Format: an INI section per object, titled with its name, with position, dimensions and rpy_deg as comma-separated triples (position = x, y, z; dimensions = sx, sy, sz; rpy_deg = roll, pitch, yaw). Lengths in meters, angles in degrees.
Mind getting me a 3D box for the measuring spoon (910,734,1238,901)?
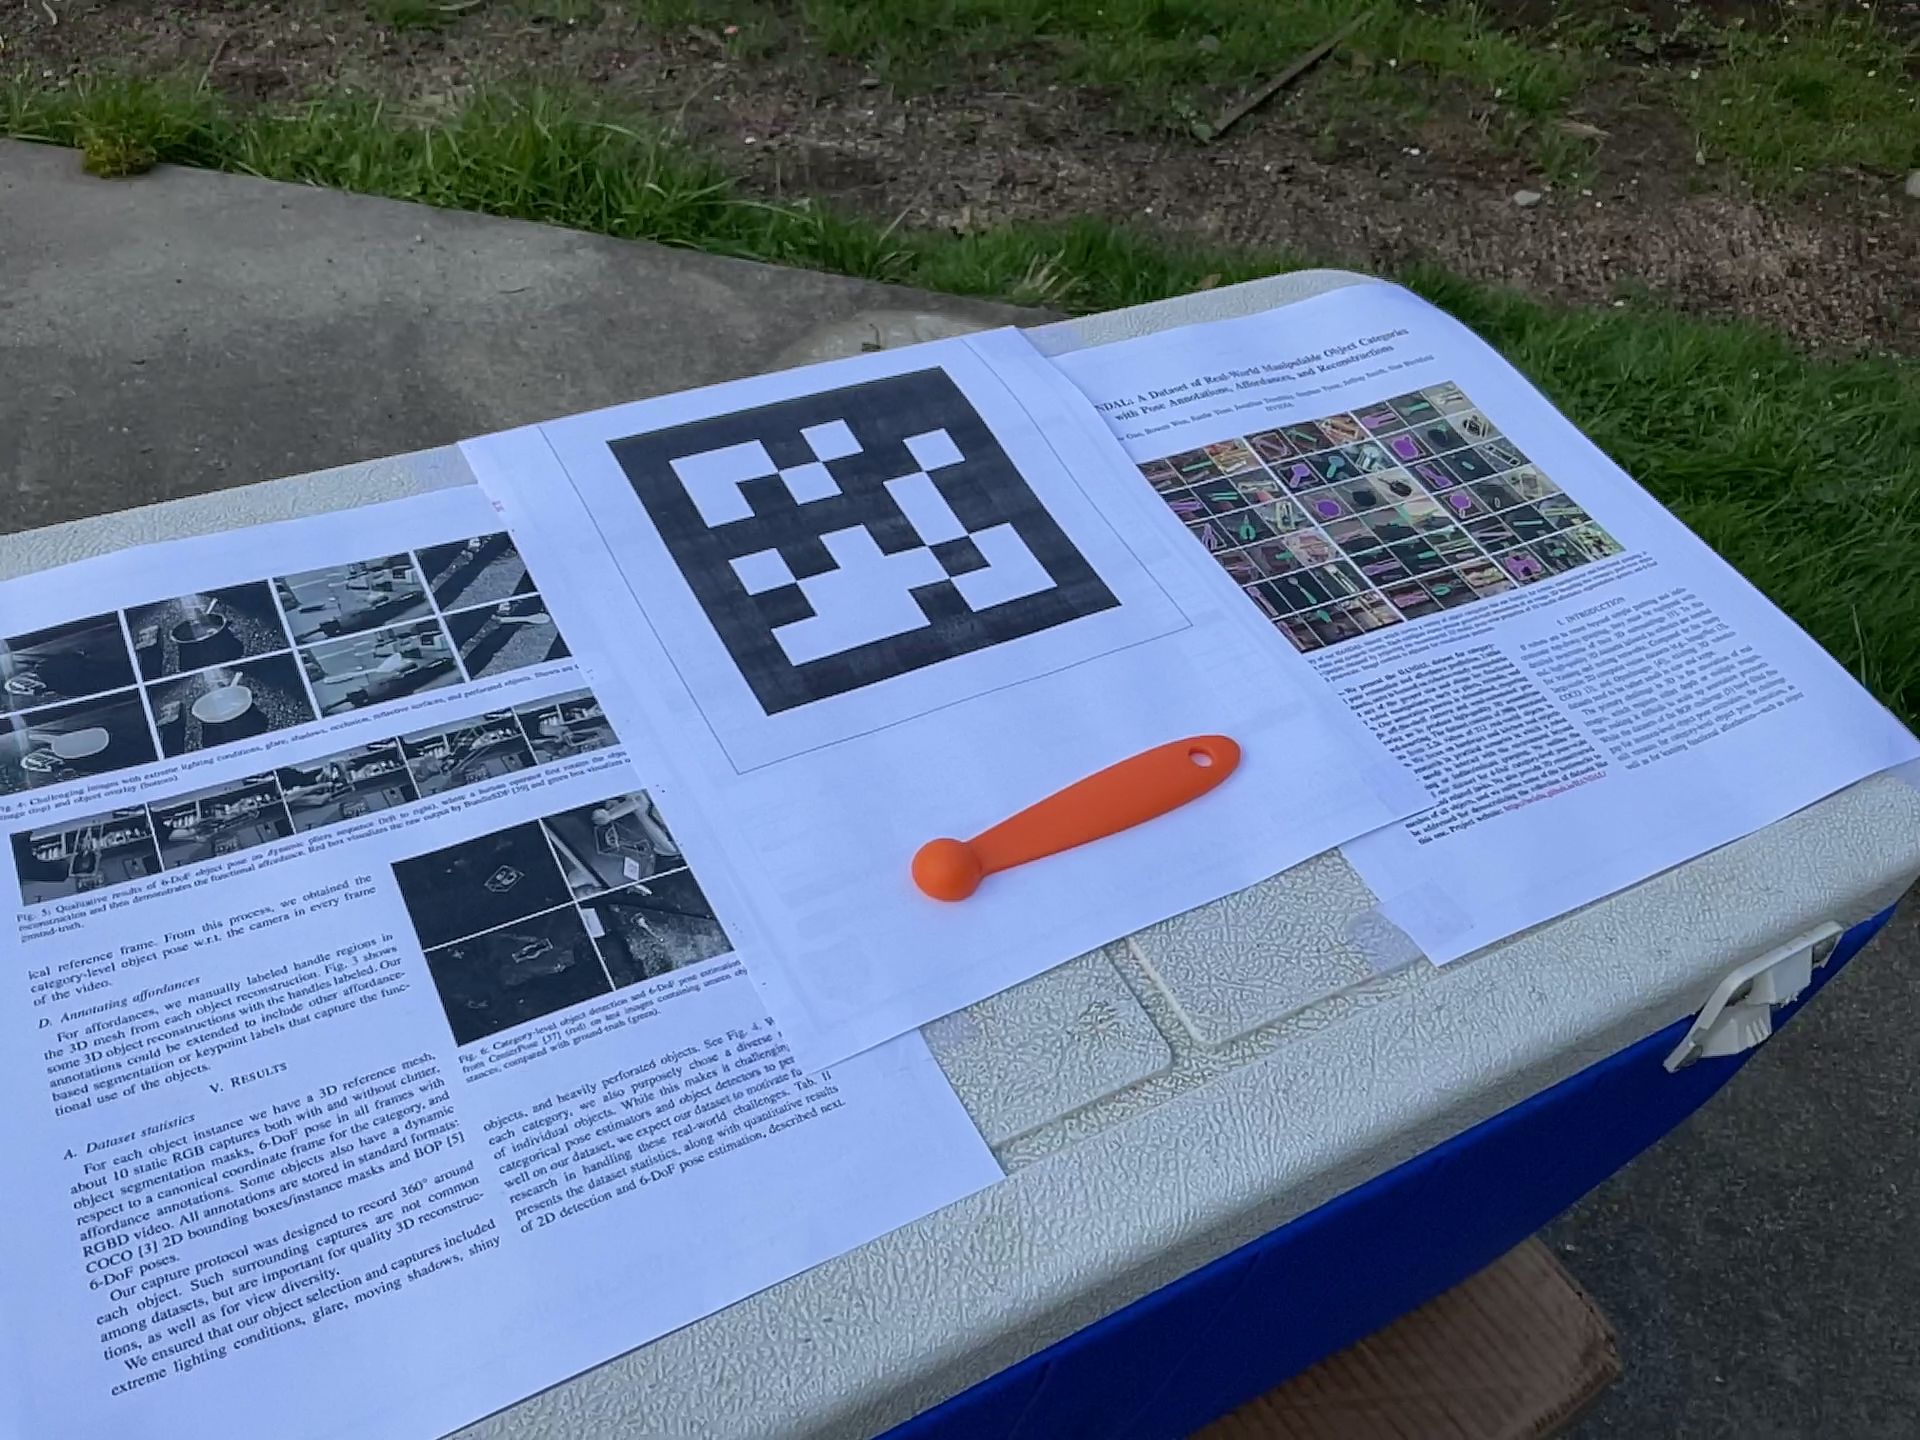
[measuring spoon]
position = 0.037, 0.024, 0.466
dimensions = 0.117, 0.011, 0.021
rpy_deg = -20, 61, -28
